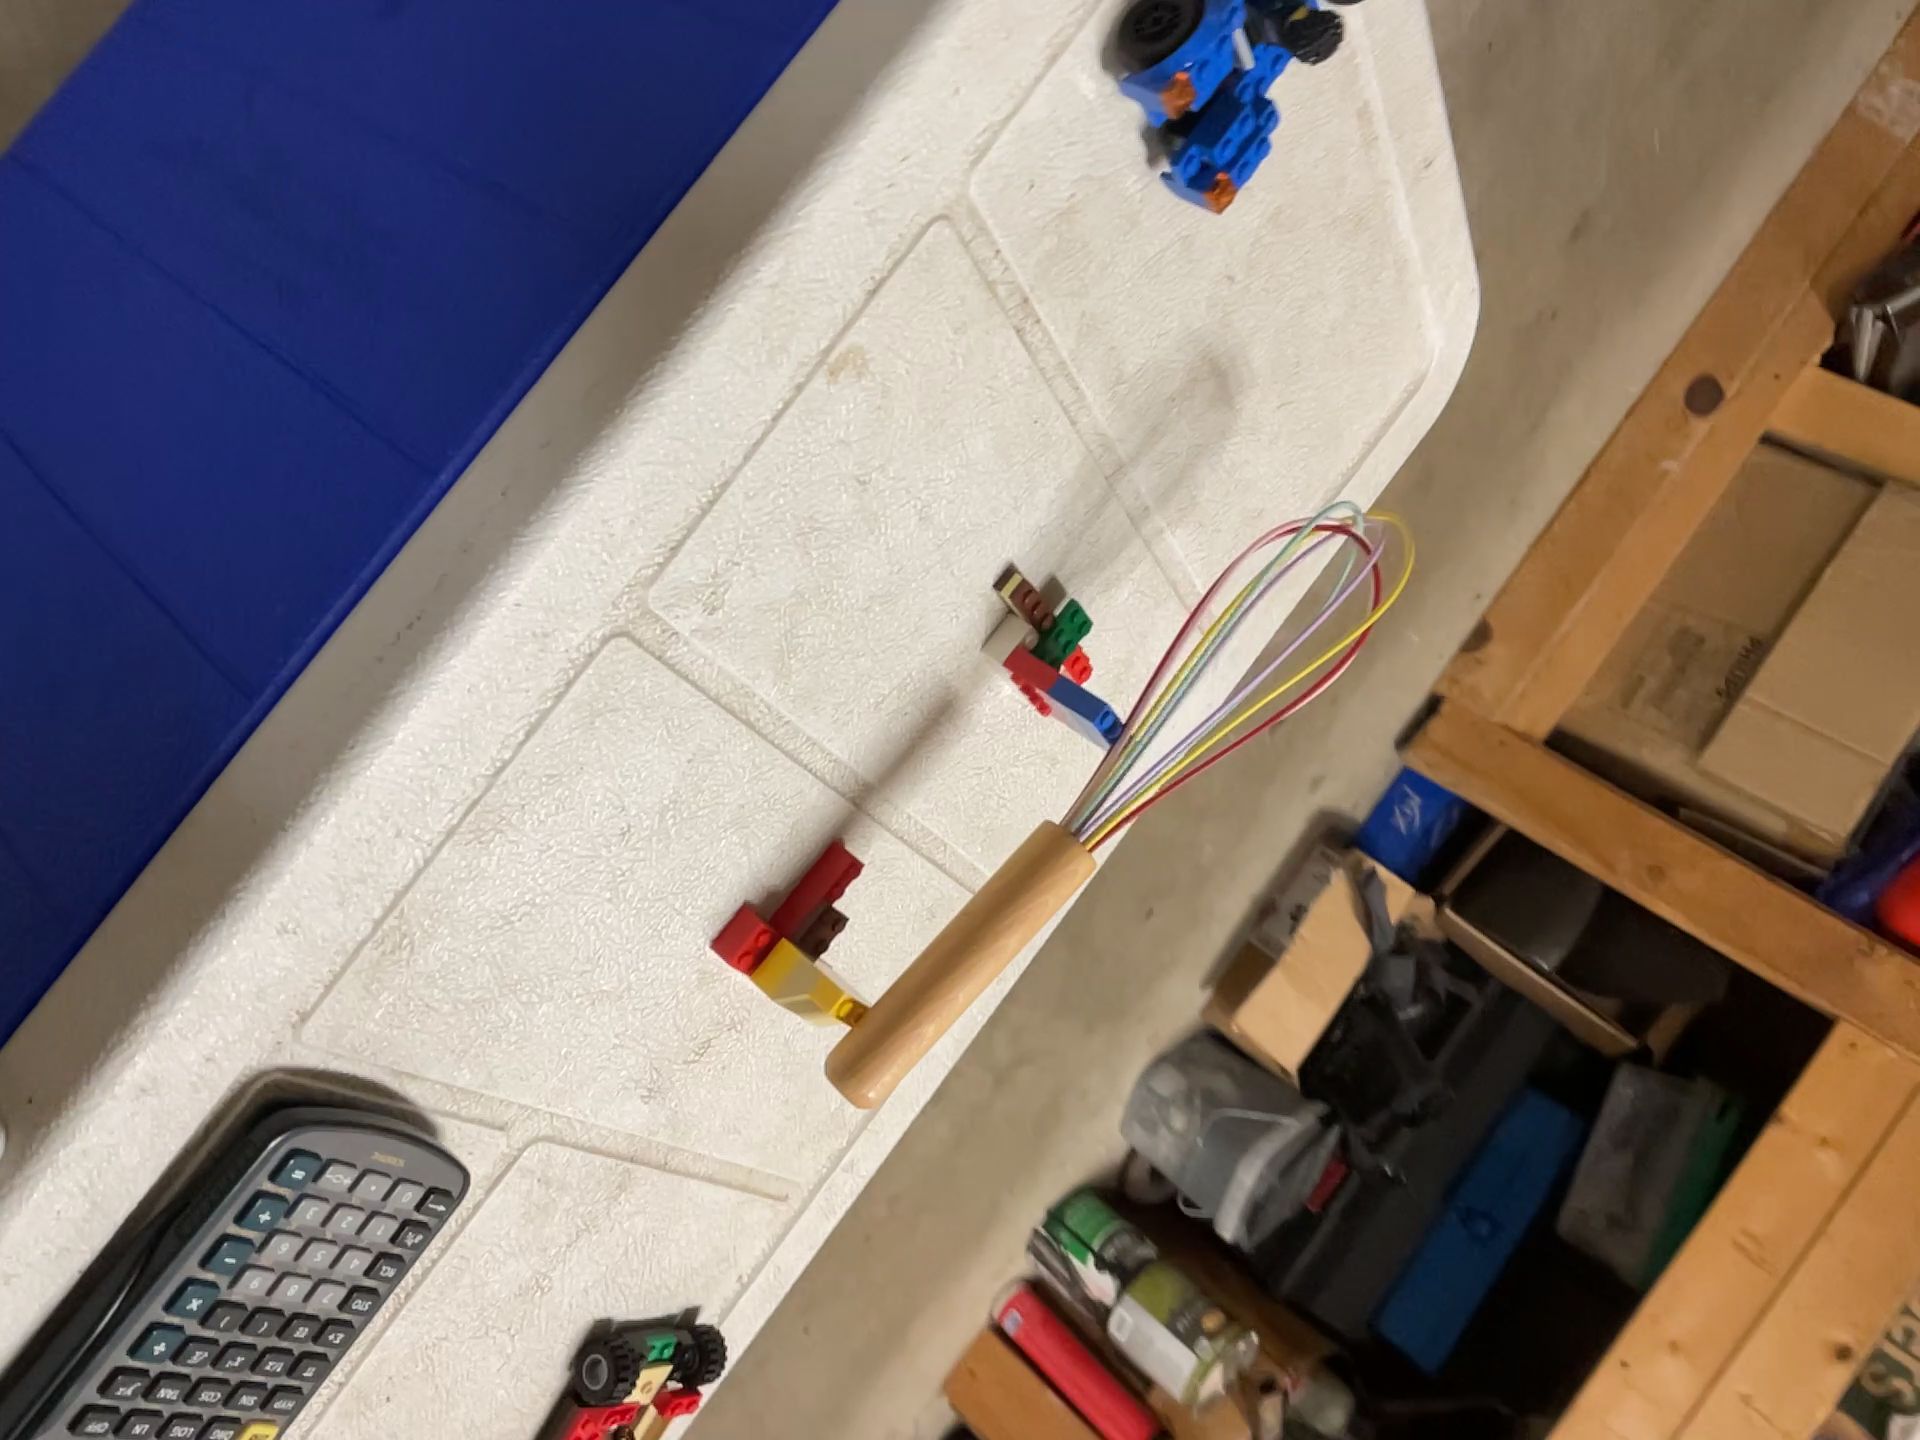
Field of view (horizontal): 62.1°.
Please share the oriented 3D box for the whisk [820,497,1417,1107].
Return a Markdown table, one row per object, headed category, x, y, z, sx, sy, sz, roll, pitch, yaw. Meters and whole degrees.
| category | x | y | z | sx | sy | sz | roll | pitch | yaw |
| --- | --- | --- | --- | --- | --- | --- | --- | --- | --- |
| whisk | 0.050 | 0.021 | 0.478 | 0.245 | 0.047 | 0.051 | -46 | 159 | -9 |
